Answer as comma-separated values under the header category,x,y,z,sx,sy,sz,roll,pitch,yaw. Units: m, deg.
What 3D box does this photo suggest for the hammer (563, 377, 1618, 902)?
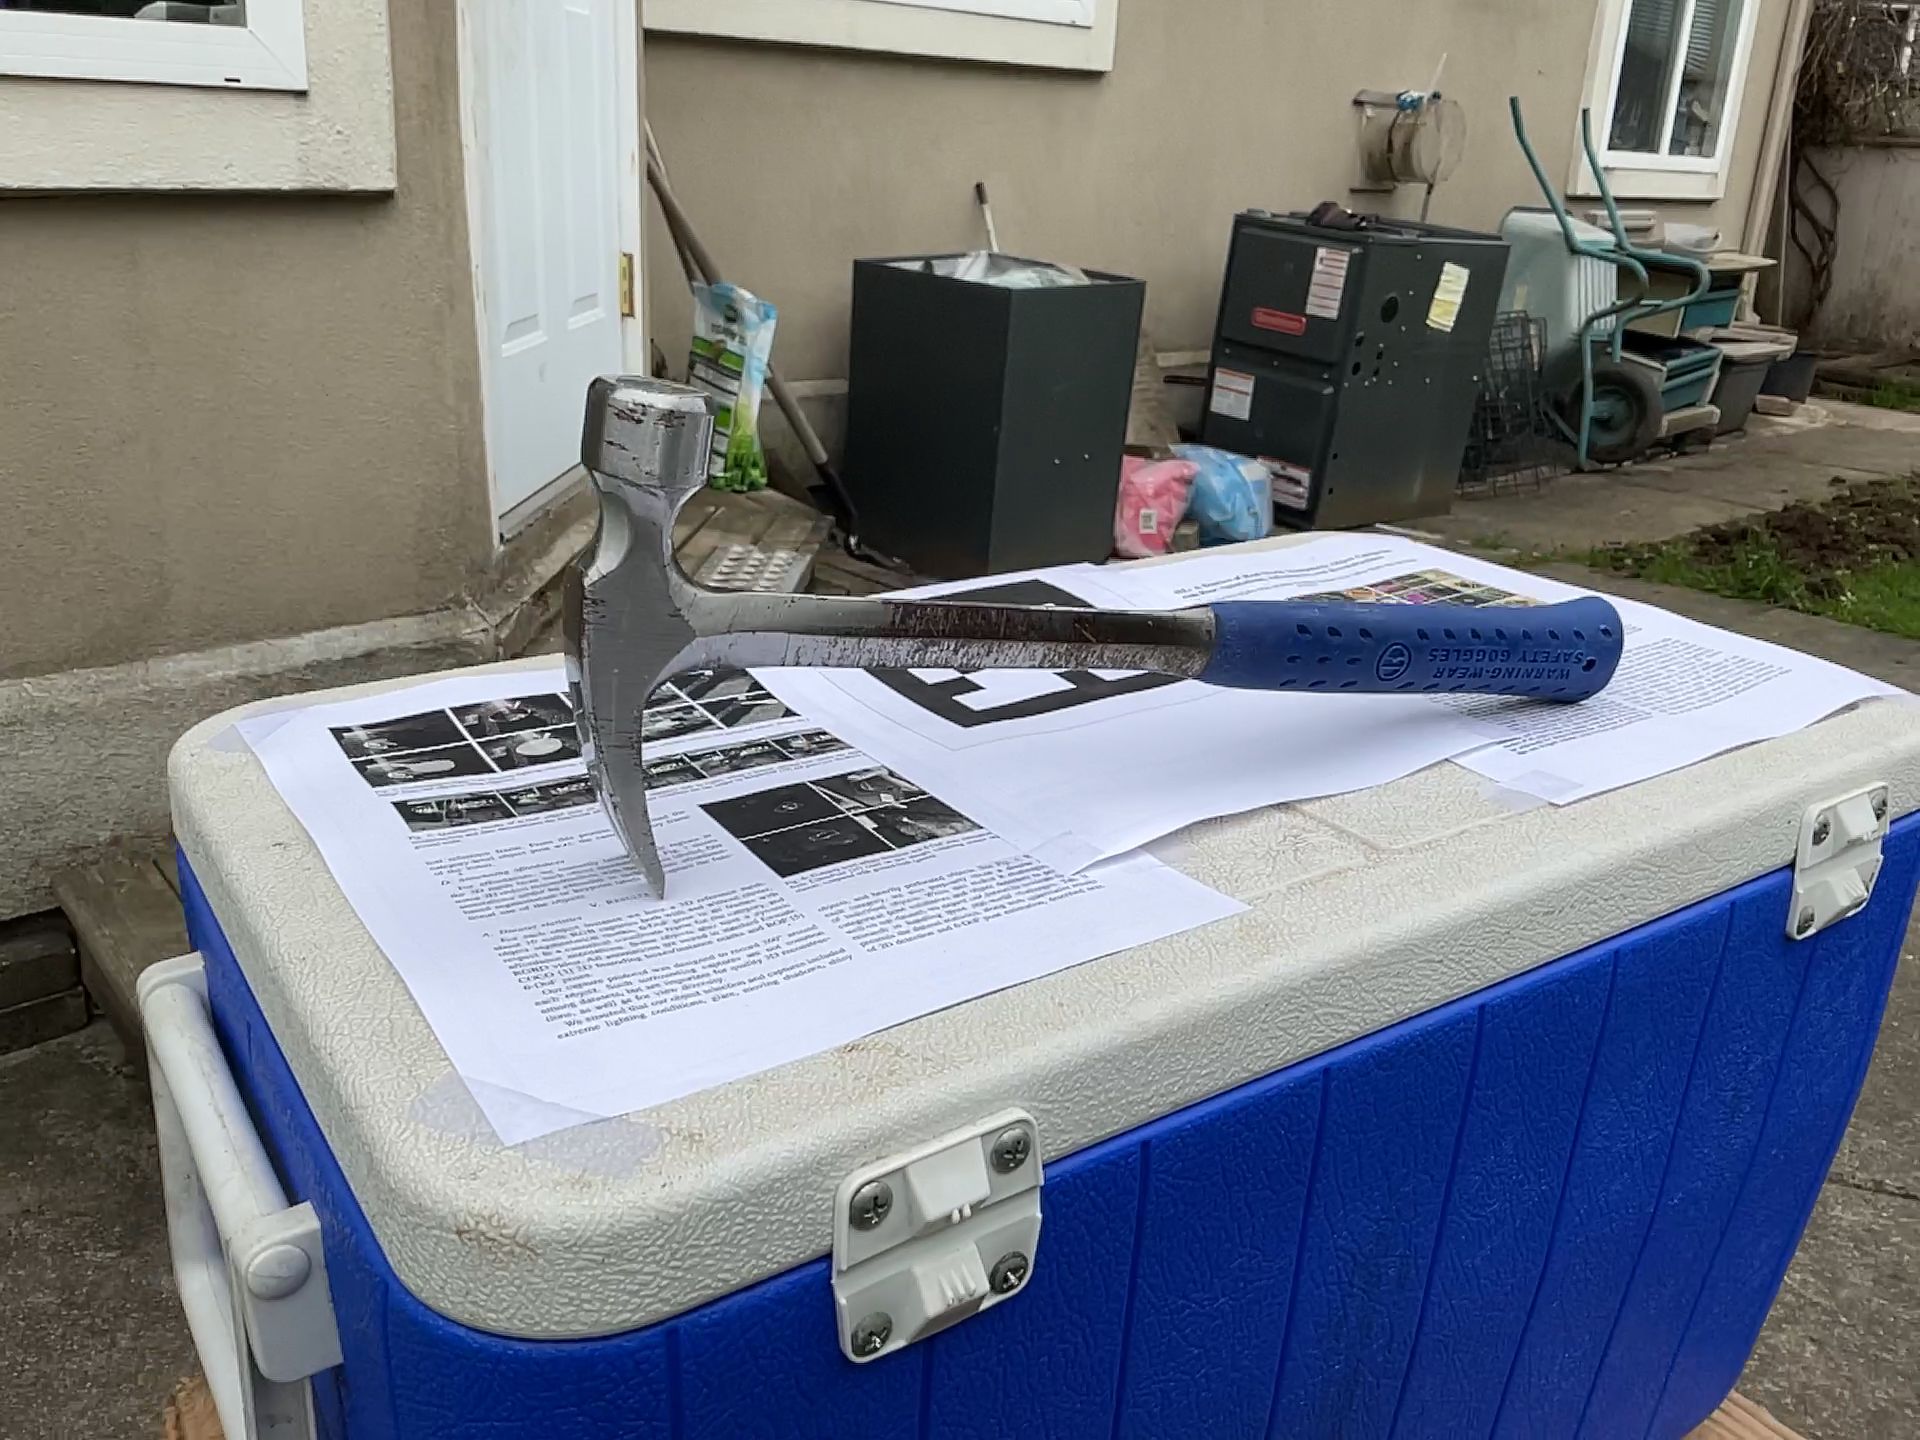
category,x,y,z,sx,sy,sz,roll,pitch,yaw
hammer,0.068,-0.020,0.532,0.405,0.144,0.035,0,21,-30
